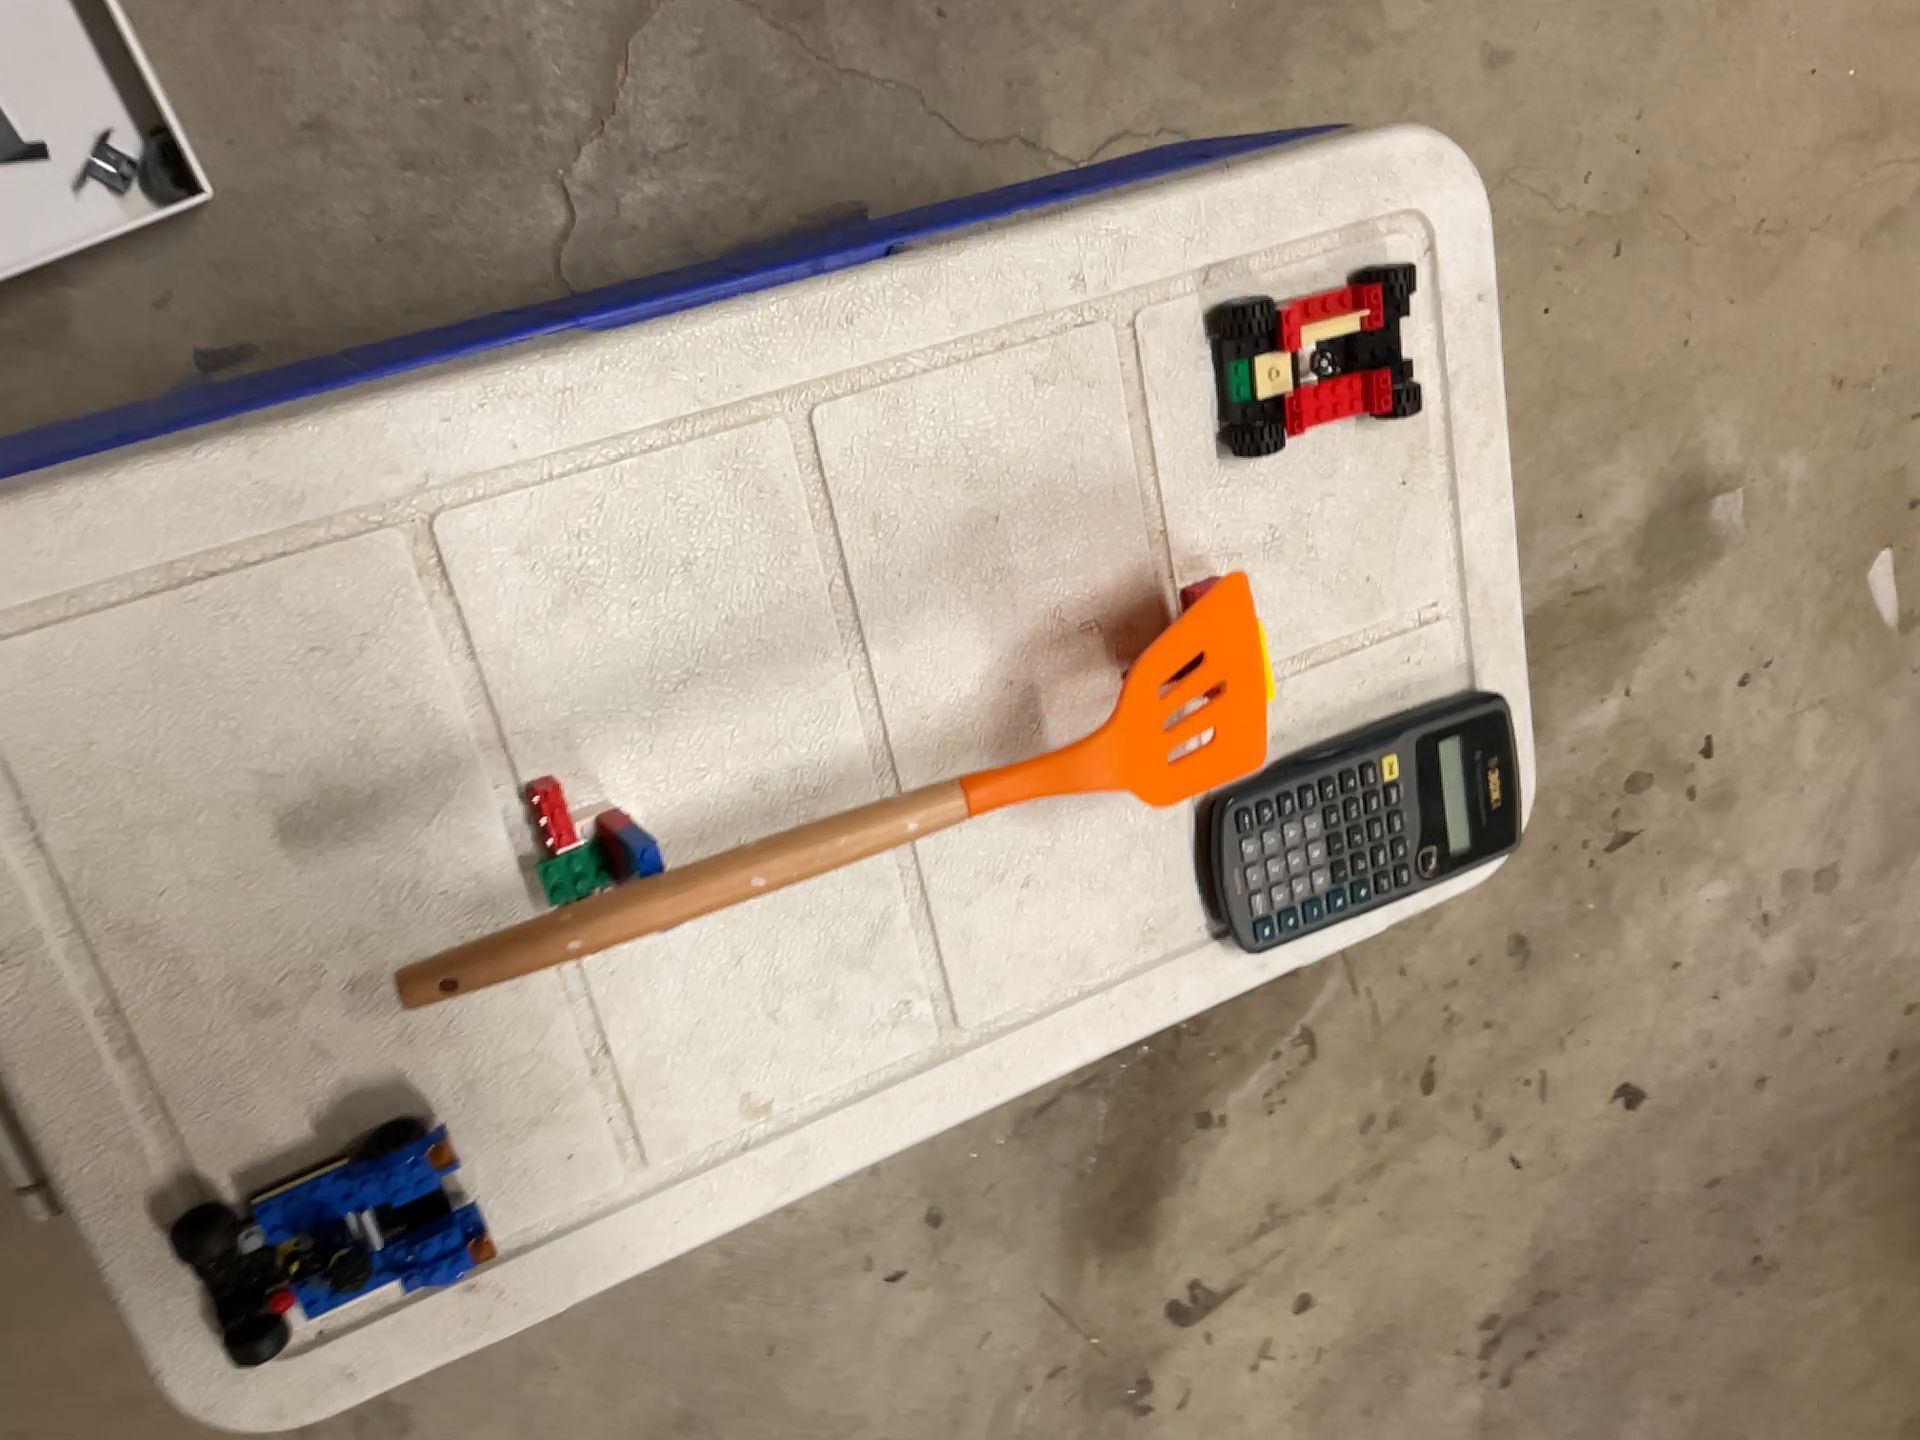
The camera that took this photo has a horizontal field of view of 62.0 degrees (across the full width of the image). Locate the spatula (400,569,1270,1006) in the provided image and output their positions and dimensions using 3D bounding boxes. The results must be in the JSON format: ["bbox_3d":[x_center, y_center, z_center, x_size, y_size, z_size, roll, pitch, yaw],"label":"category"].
[{"bbox_3d":[-0.025,0.031,0.540,0.322,0.041,0.081,-18,113,-16],"label":"spatula"}]
